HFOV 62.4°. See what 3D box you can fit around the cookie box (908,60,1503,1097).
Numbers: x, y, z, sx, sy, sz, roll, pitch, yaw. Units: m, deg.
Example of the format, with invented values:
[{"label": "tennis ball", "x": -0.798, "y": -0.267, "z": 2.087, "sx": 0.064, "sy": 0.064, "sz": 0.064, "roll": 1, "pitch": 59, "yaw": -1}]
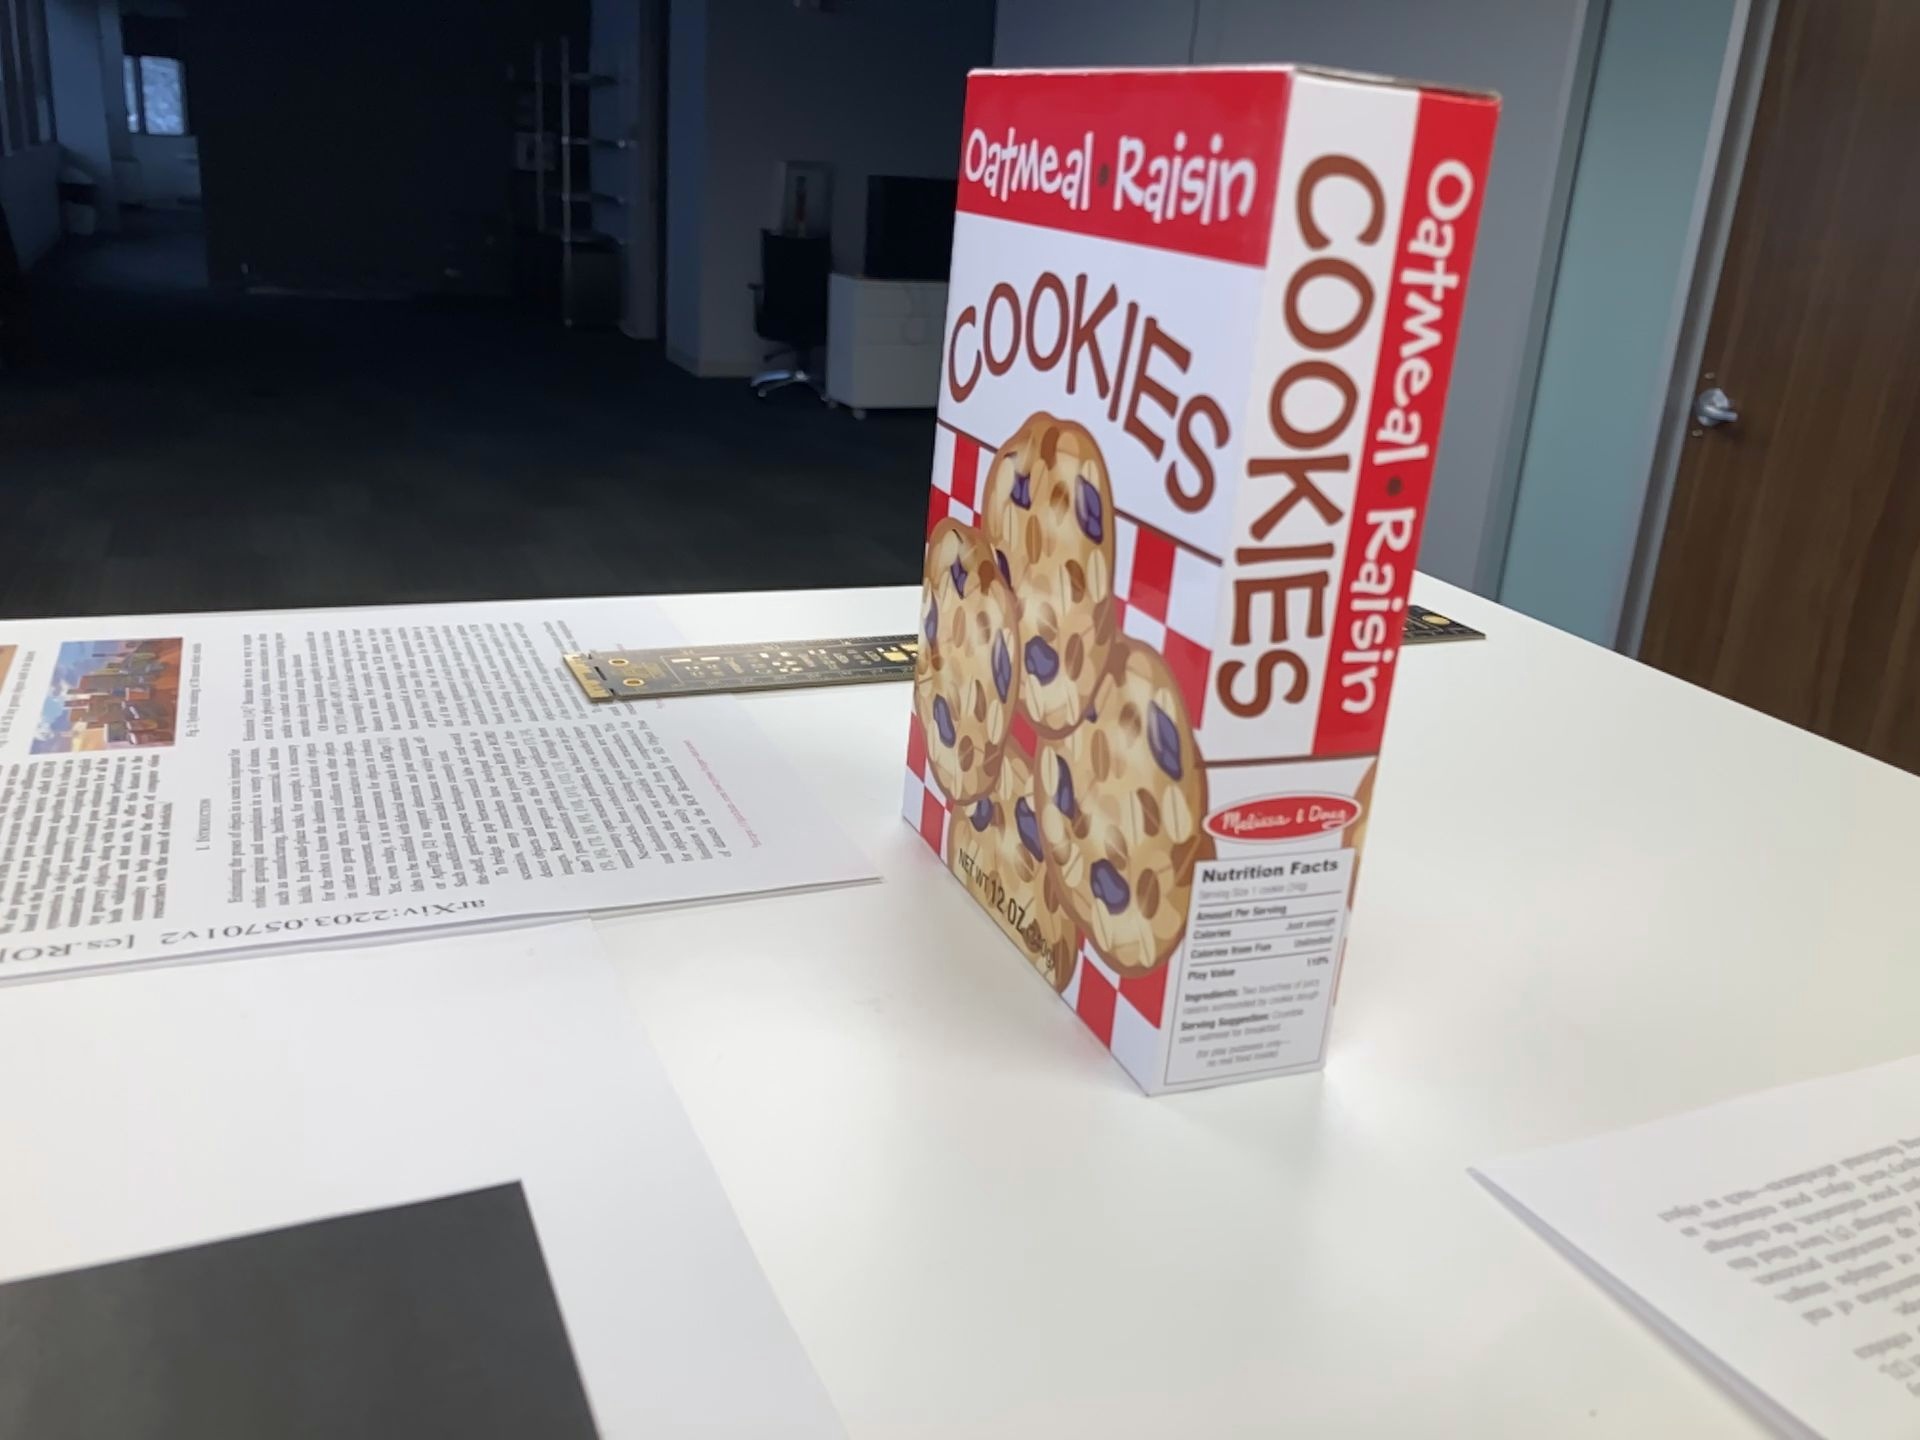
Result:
[{"label": "cookie box", "x": 0.034, "y": -0.035, "z": 0.303, "sx": 0.040, "sy": 0.167, "sz": 0.123, "roll": -3, "pitch": 21, "yaw": -22}]
